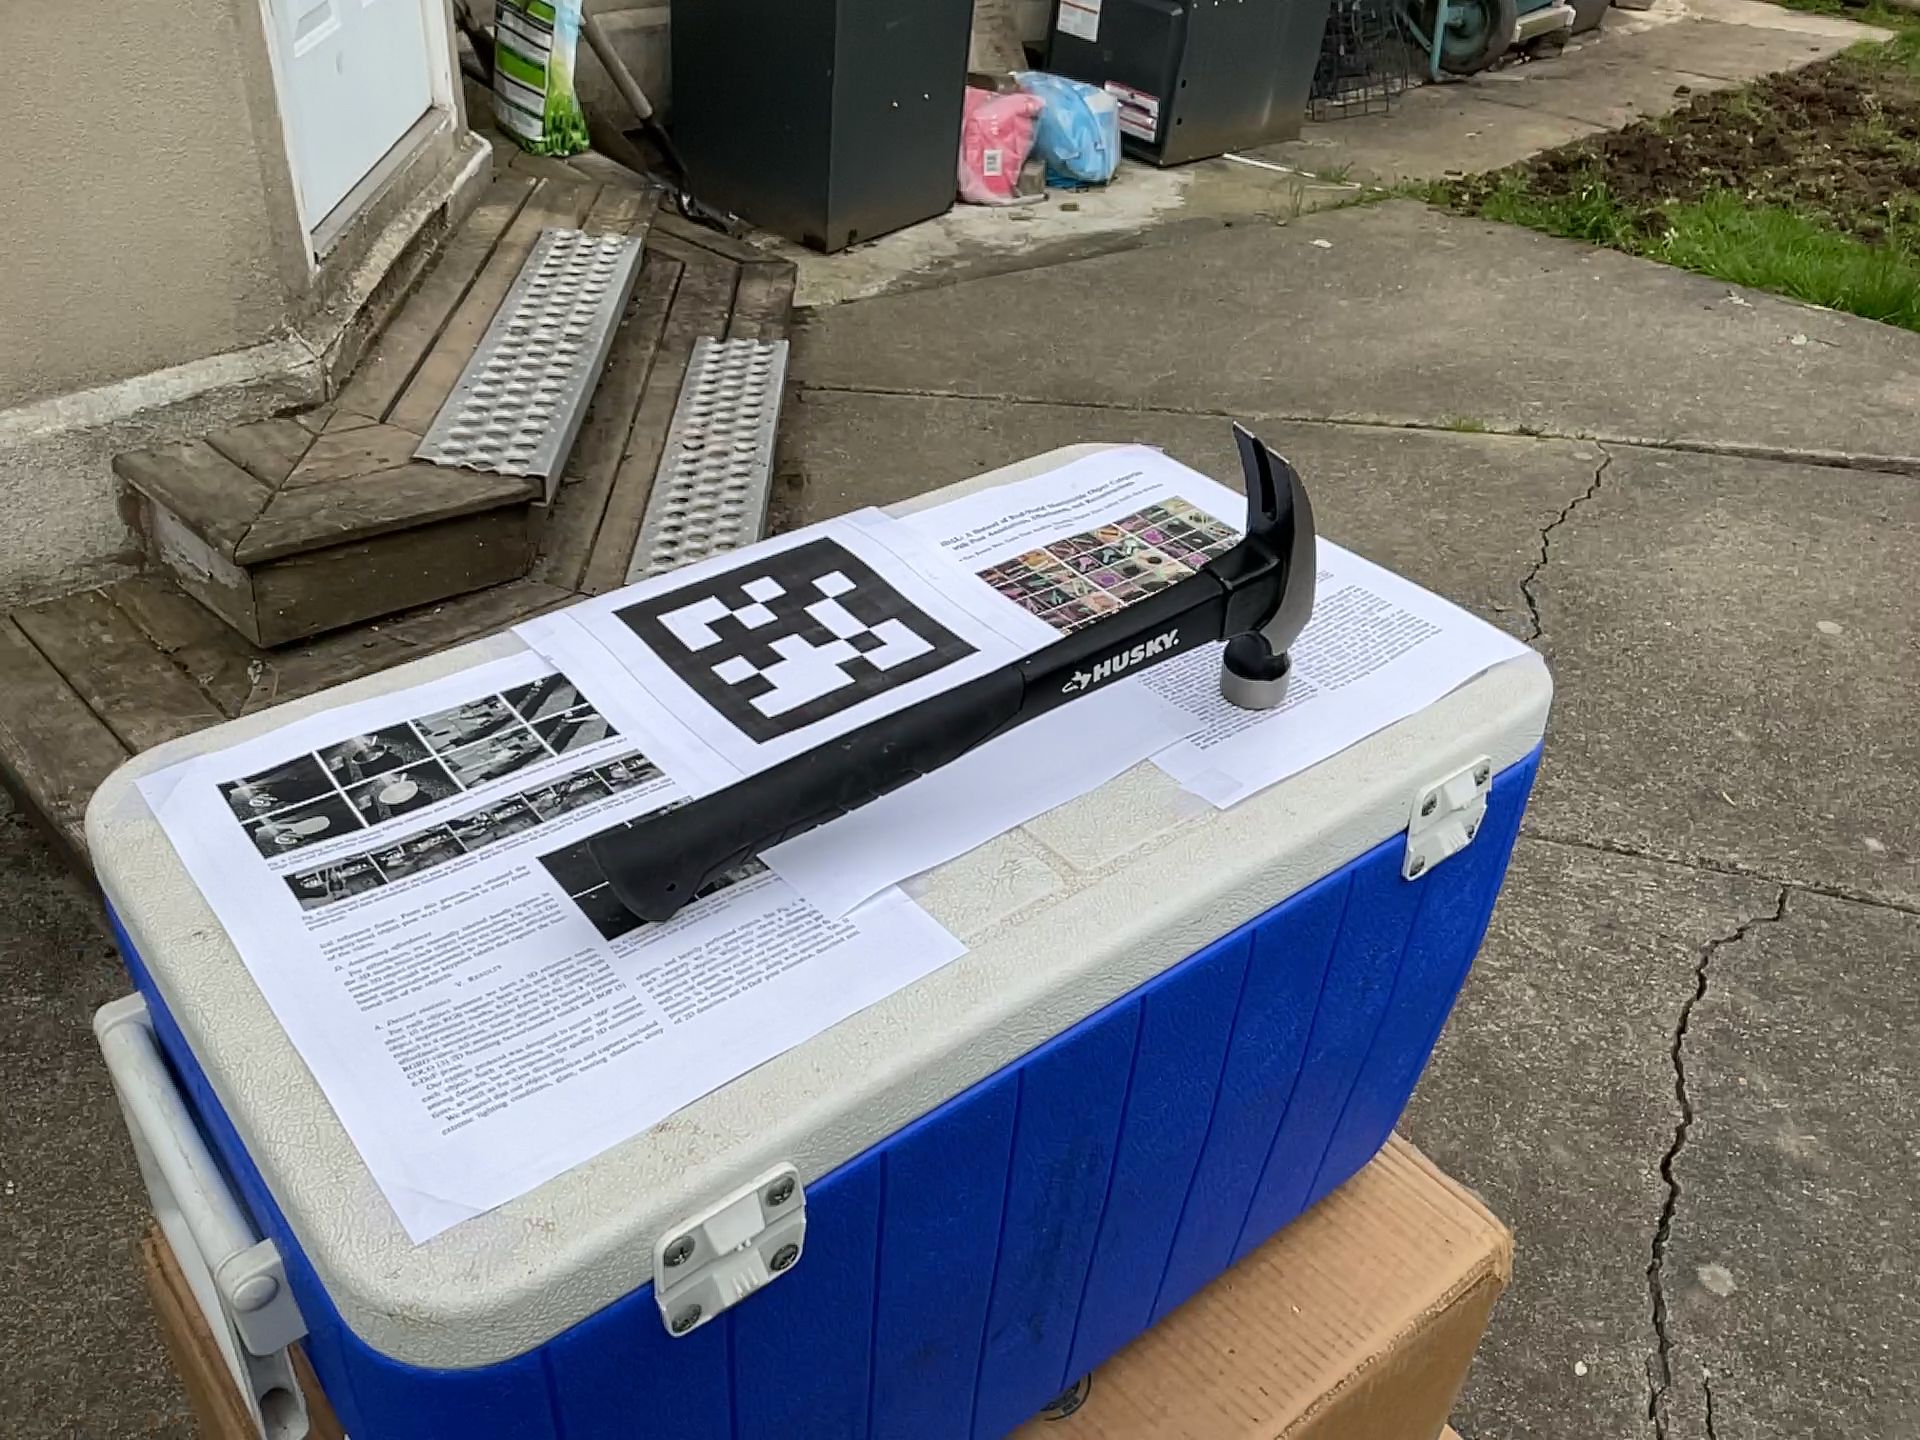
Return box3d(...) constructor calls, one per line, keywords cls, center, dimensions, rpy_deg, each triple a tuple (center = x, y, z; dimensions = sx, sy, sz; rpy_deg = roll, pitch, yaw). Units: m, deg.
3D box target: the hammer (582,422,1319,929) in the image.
box3d(cls="hammer", center=(0.009, -0.007, 0.640), dimensions=(0.334, 0.146, 0.035), rpy_deg=(-25, 49, -21))
